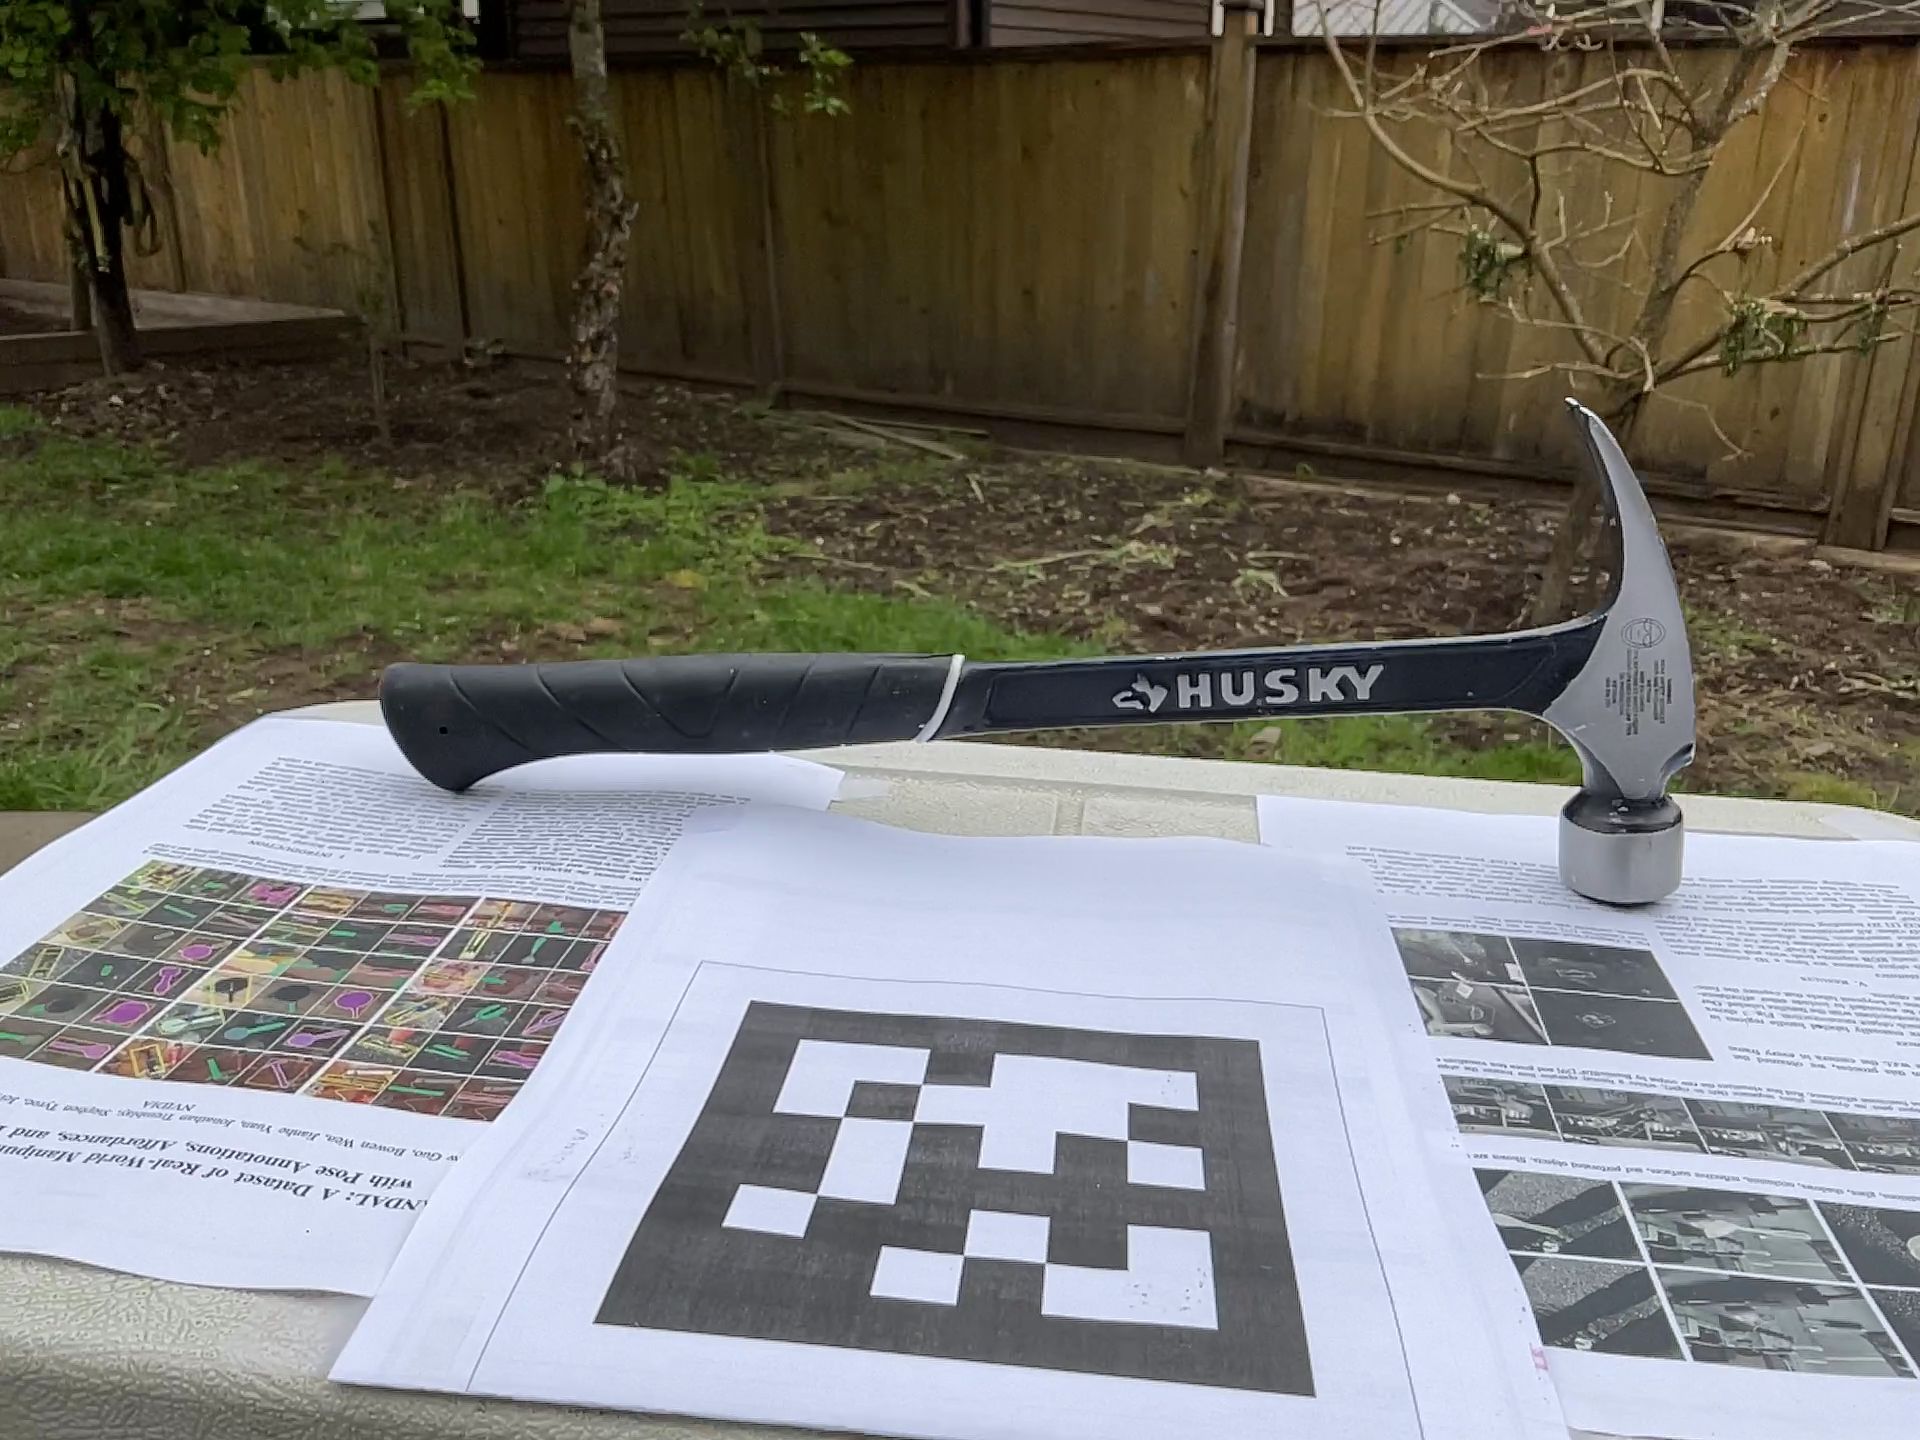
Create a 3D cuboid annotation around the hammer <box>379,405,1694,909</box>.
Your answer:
[{"bbox_3d":[0.013,-0.011,0.499,0.409,0.149,0.036,-2,19,9],"label":"hammer"}]
